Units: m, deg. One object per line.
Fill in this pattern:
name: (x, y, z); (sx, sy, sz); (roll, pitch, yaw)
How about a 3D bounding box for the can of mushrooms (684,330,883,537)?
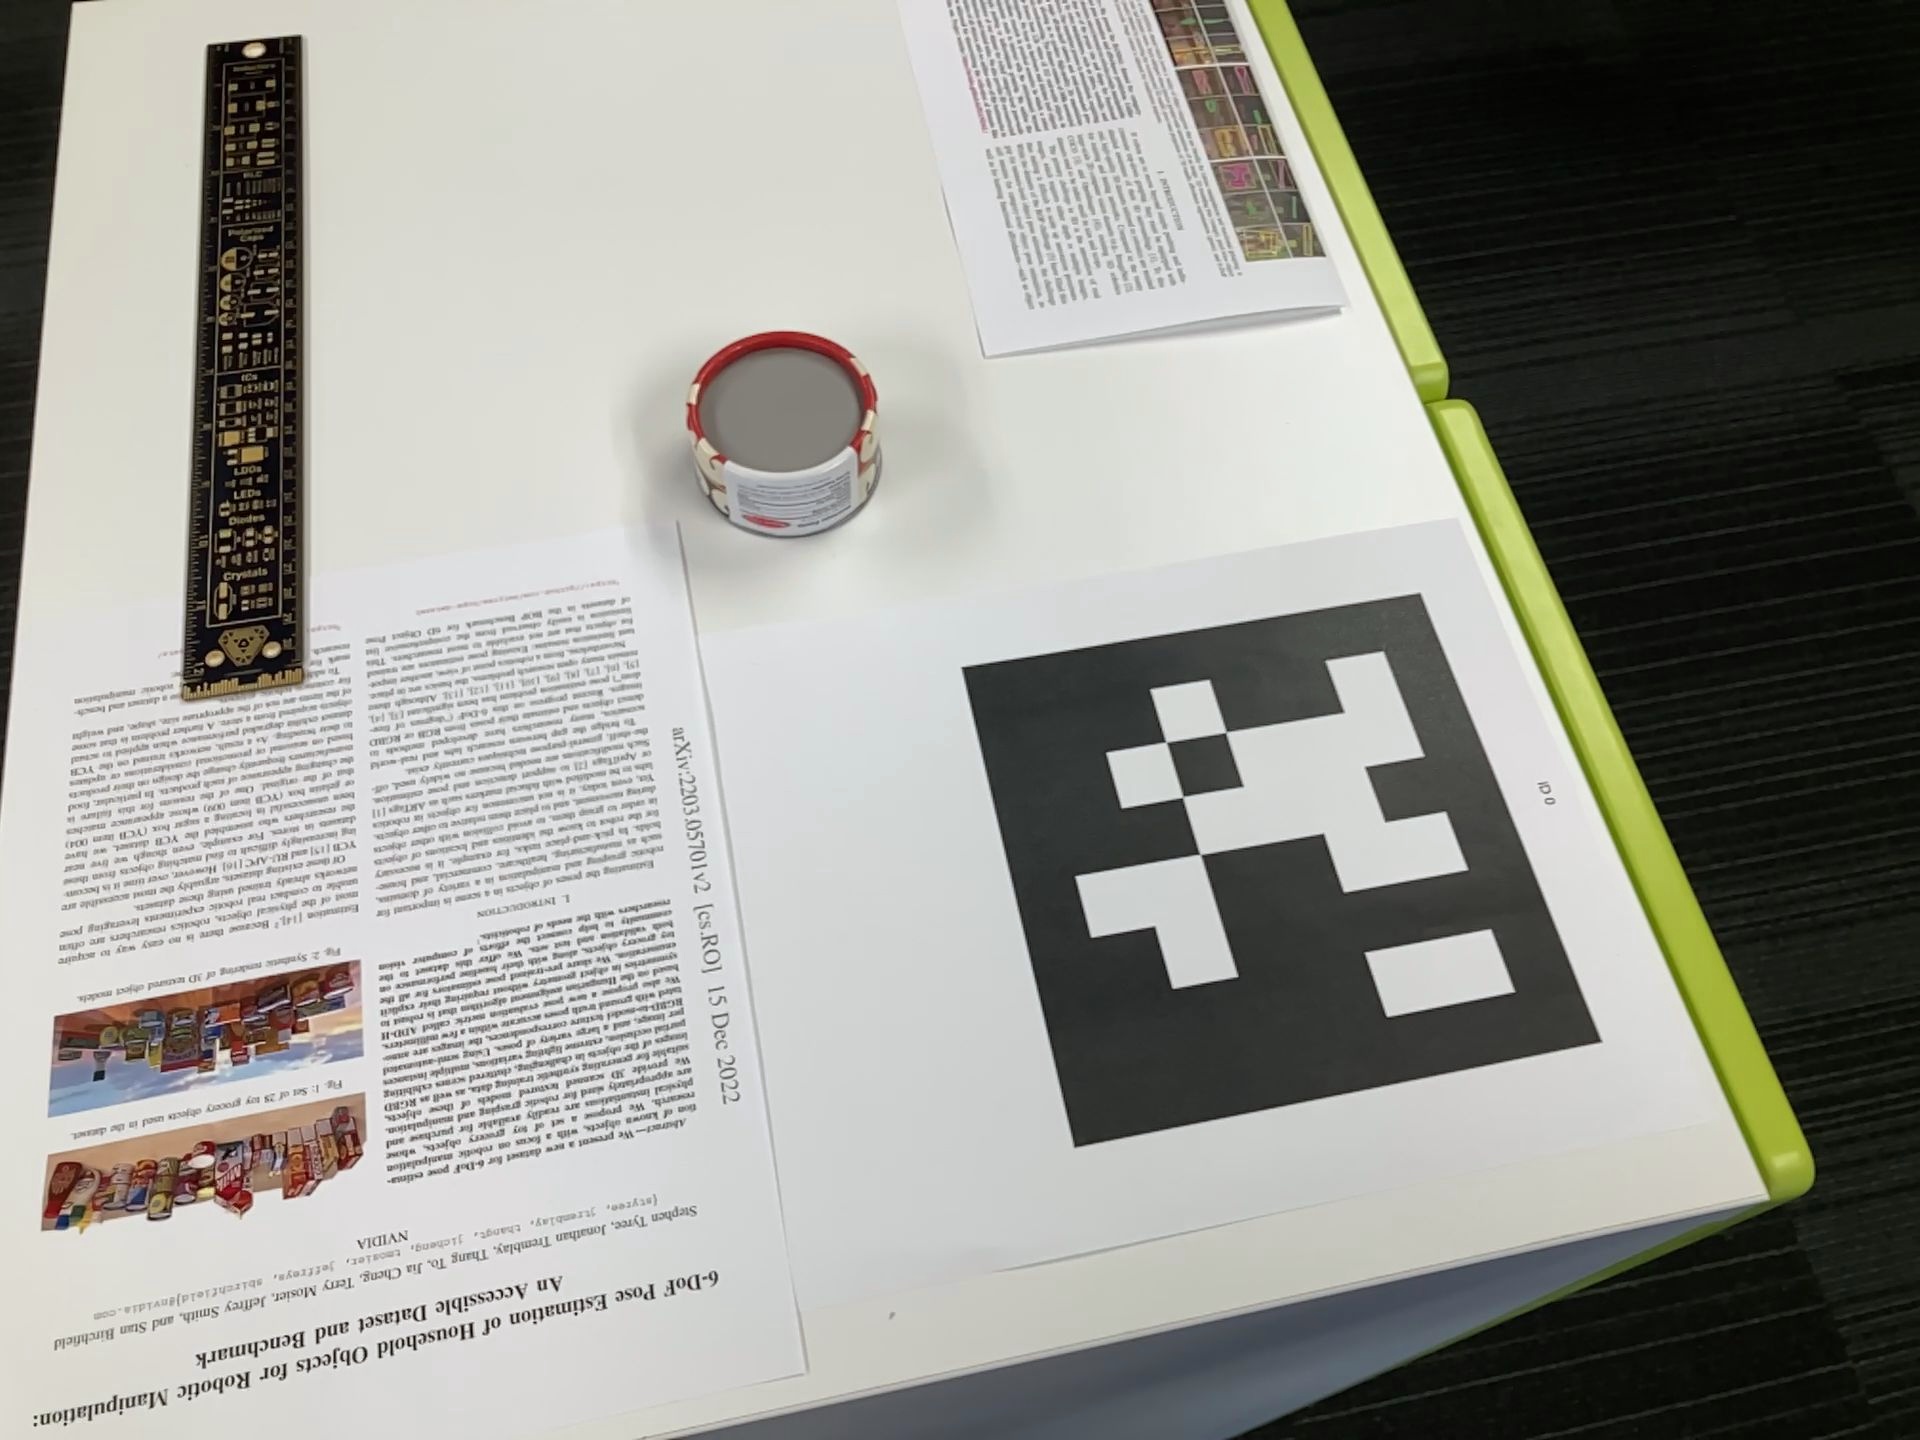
can of mushrooms: (-0.061, -0.101, 0.547); (0.071, 0.033, 0.071); (0, 61, 0)
